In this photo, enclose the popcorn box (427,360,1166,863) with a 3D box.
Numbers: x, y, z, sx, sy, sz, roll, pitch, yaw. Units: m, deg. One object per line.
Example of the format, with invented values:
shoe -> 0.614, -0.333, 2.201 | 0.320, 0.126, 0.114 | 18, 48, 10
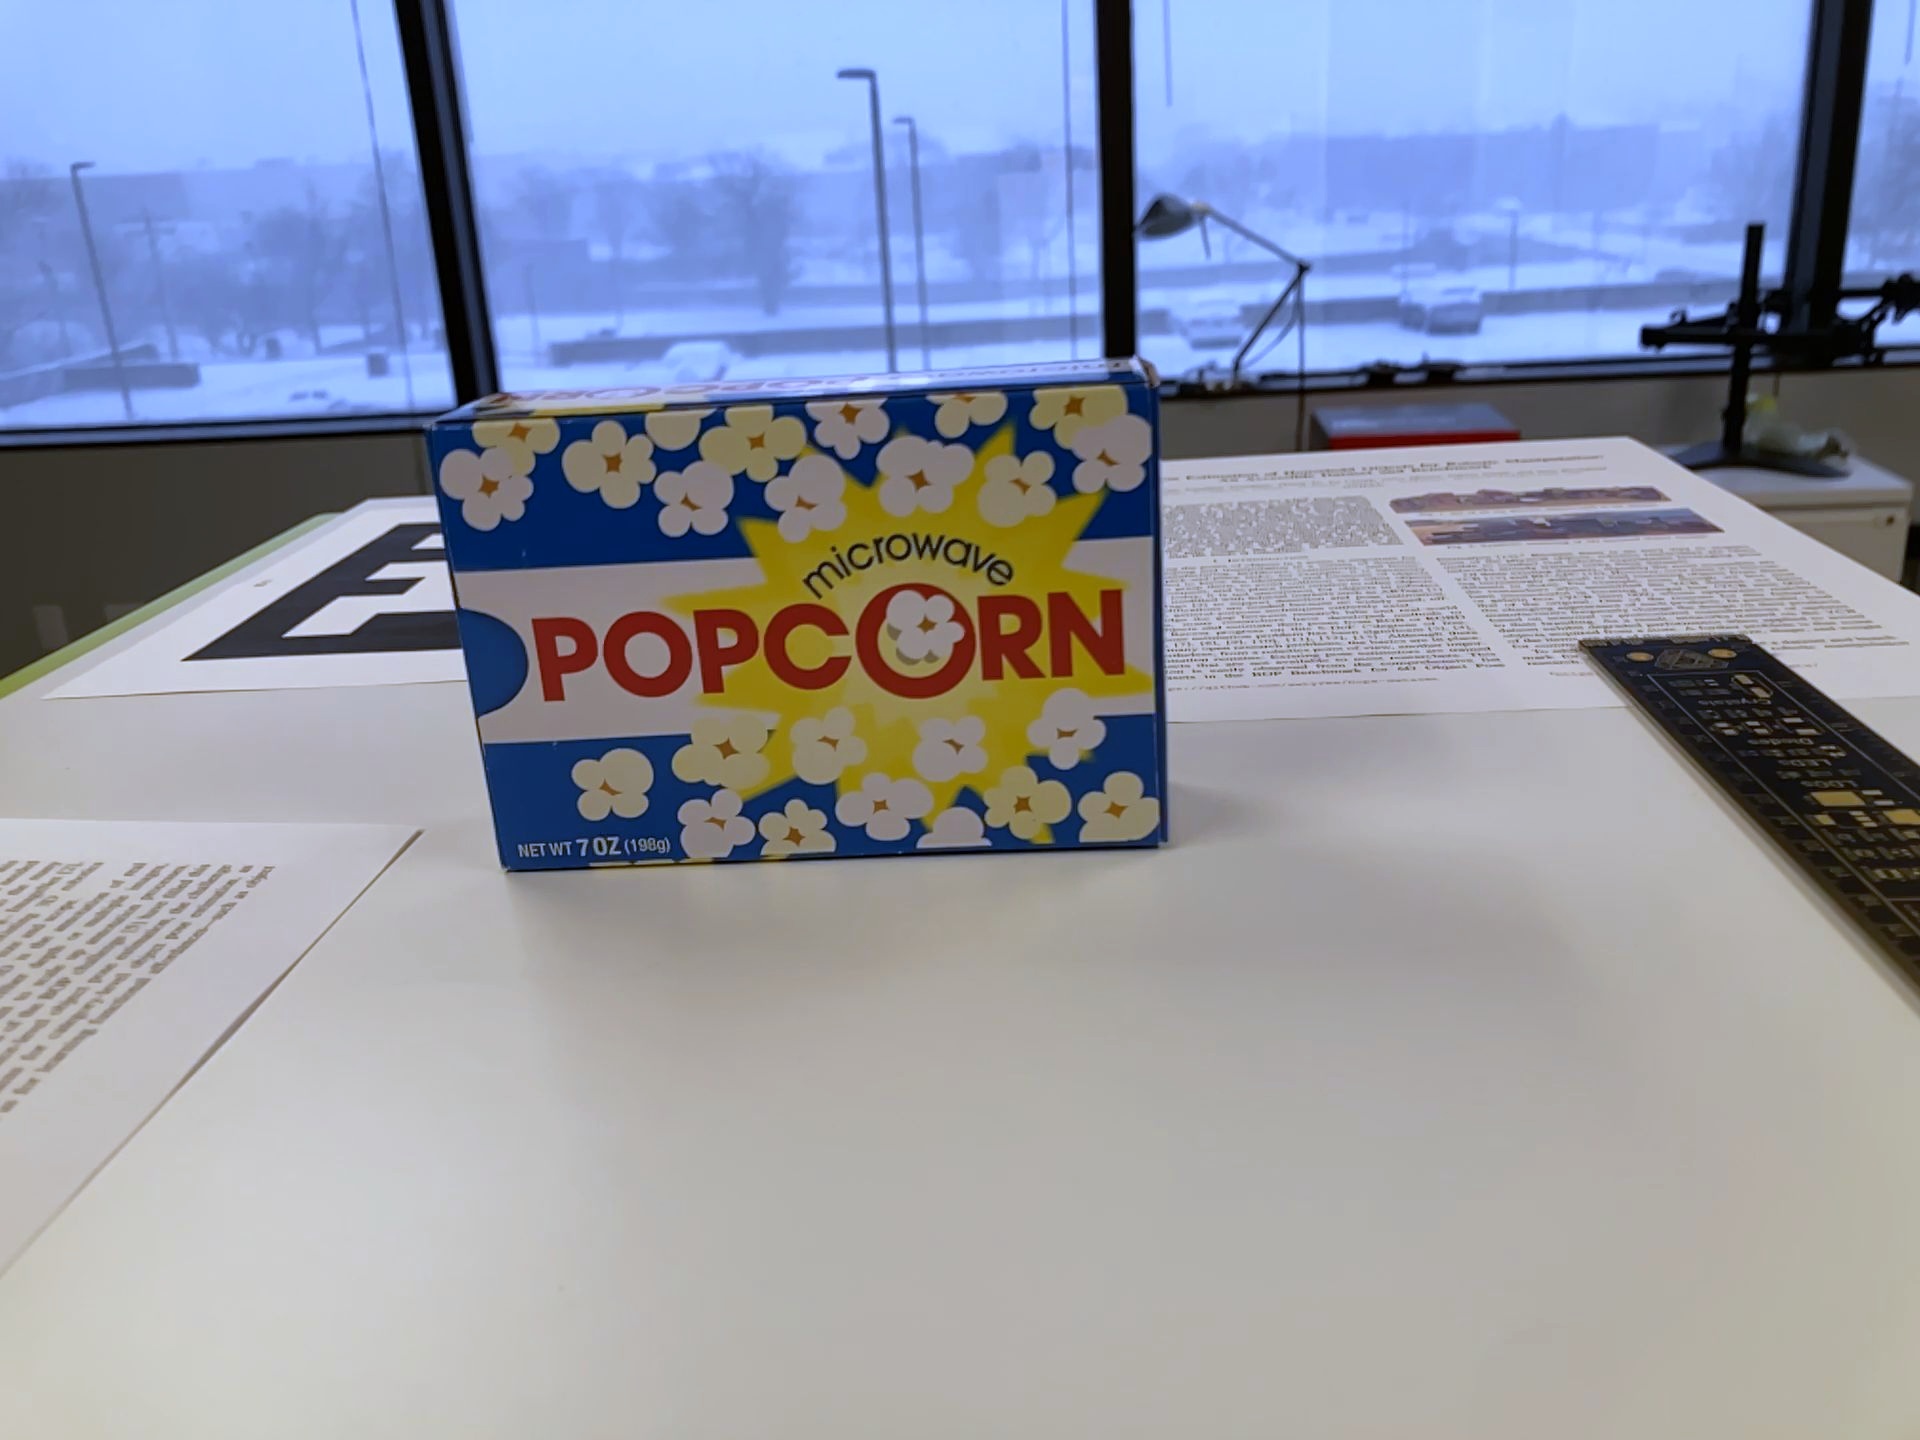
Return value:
popcorn box -> -0.026, -0.020, 0.297 | 0.126, 0.085, 0.038 | -2, 19, 5
